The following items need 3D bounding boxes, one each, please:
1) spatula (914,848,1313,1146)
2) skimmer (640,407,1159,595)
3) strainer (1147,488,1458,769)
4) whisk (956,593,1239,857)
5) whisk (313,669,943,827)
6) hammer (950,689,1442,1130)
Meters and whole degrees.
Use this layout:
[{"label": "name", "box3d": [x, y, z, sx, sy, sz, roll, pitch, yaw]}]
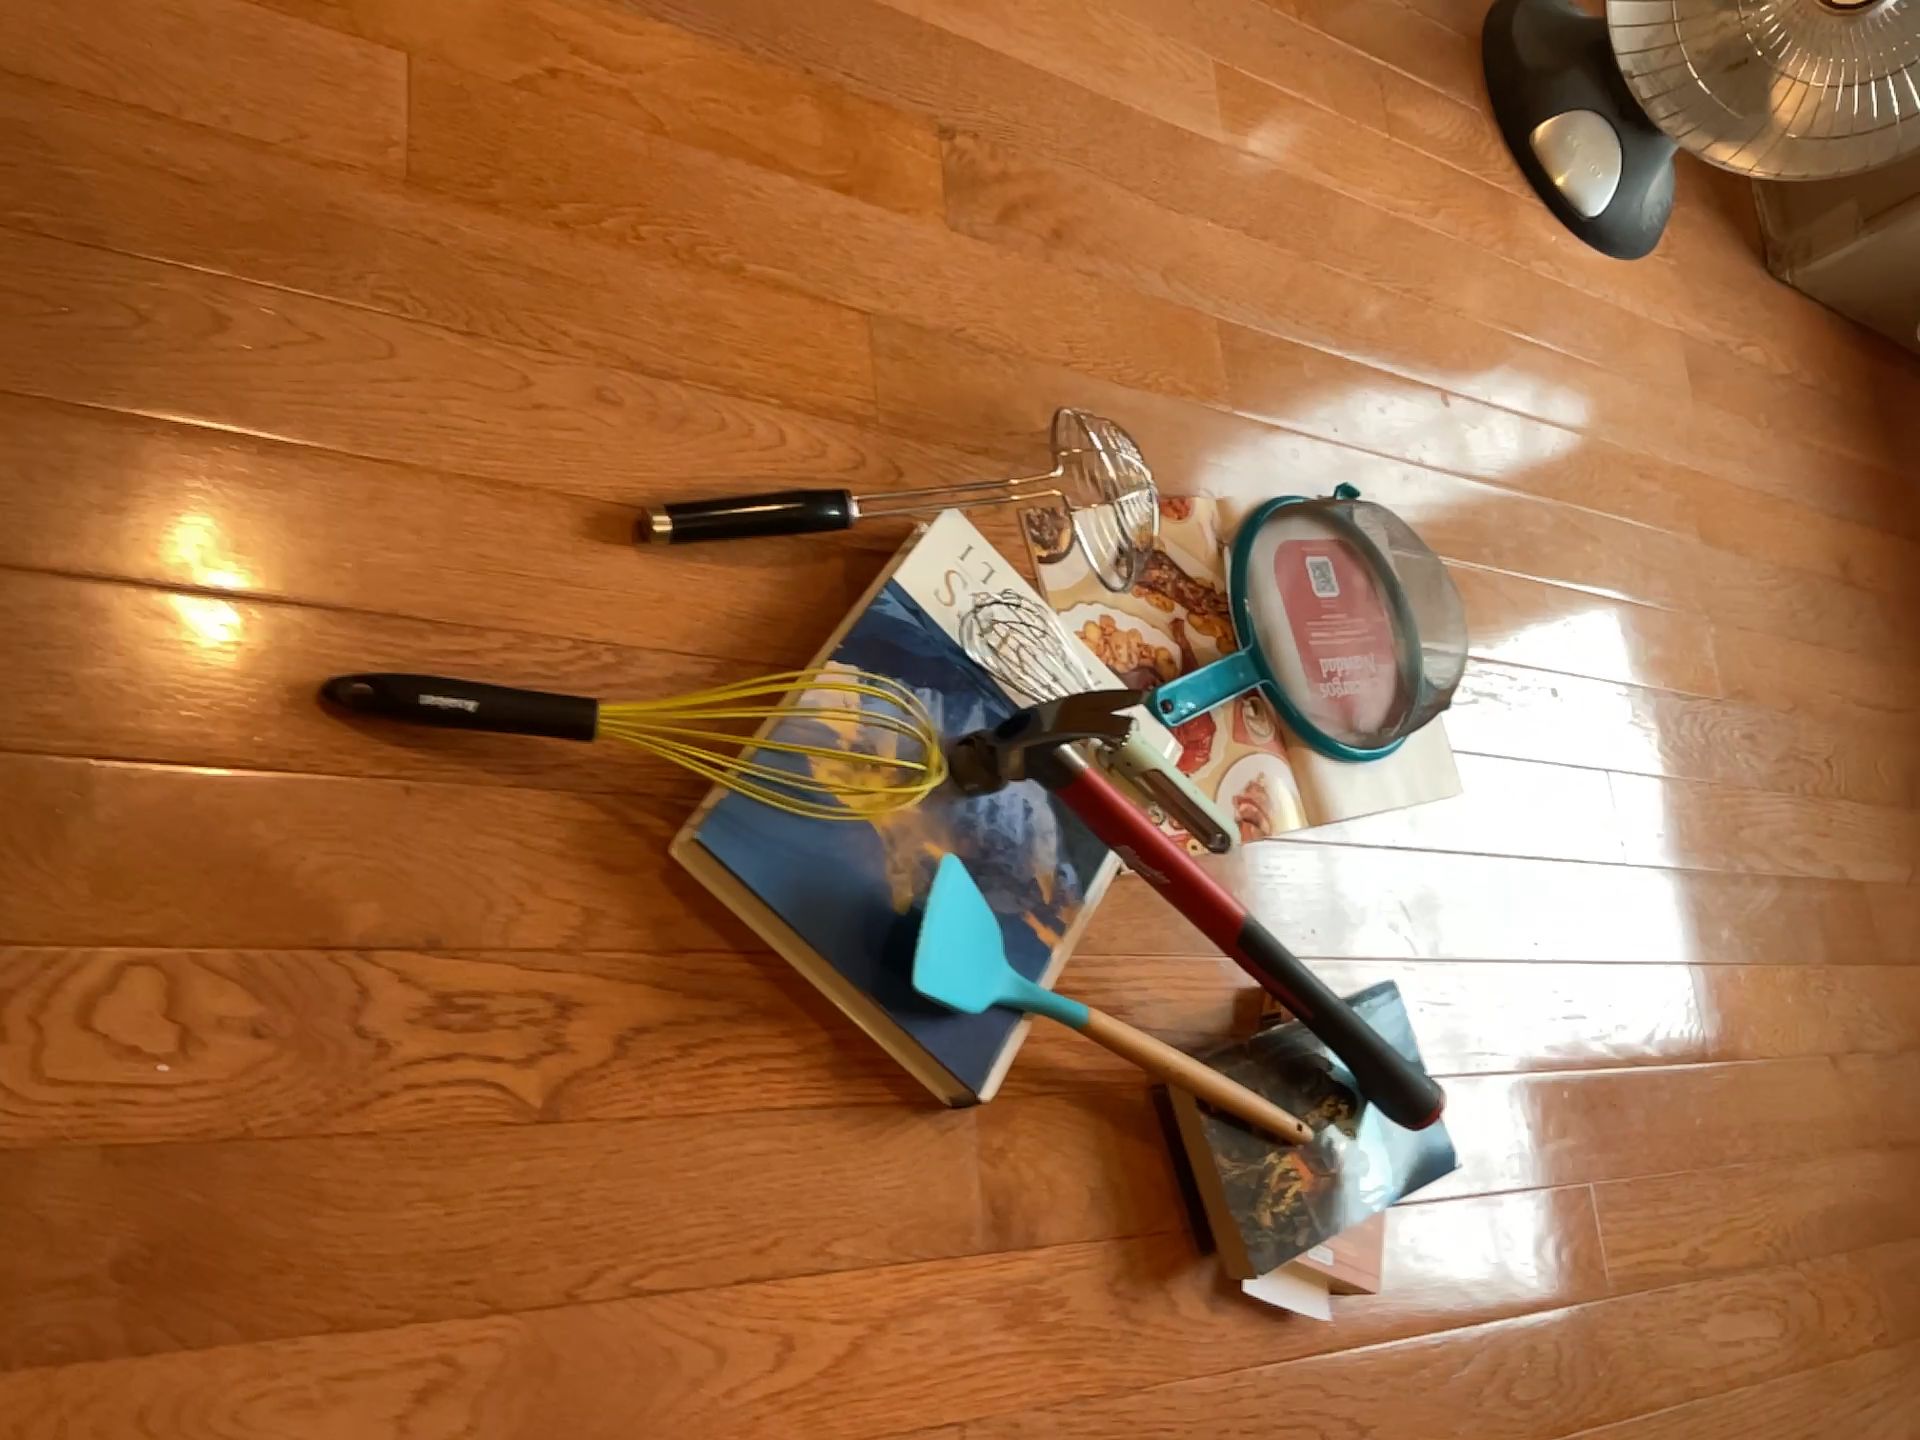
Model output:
[{"label": "spatula", "box3d": [0.095, 0.179, 0.903, 0.317, 0.044, 0.082, 31, 56, -25]}, {"label": "skimmer", "box3d": [-0.025, -0.124, 0.979, 0.363, 0.090, 0.127, -10, 82, -28]}, {"label": "strainer", "box3d": [0.256, -0.060, 1.111, 0.341, 0.095, 0.211, -23, 89, -46]}, {"label": "whisk", "box3d": [0.089, 0.008, 0.964, 0.246, 0.057, 0.059, 41, 23, -24]}, {"label": "whisk", "box3d": [-0.156, 0.003, 0.795, 0.311, 0.067, 0.080, 8, 84, -20]}, {"label": "hammer", "box3d": [0.170, 0.122, 0.929, 0.386, 0.143, 0.038, 42, 57, -21]}]
